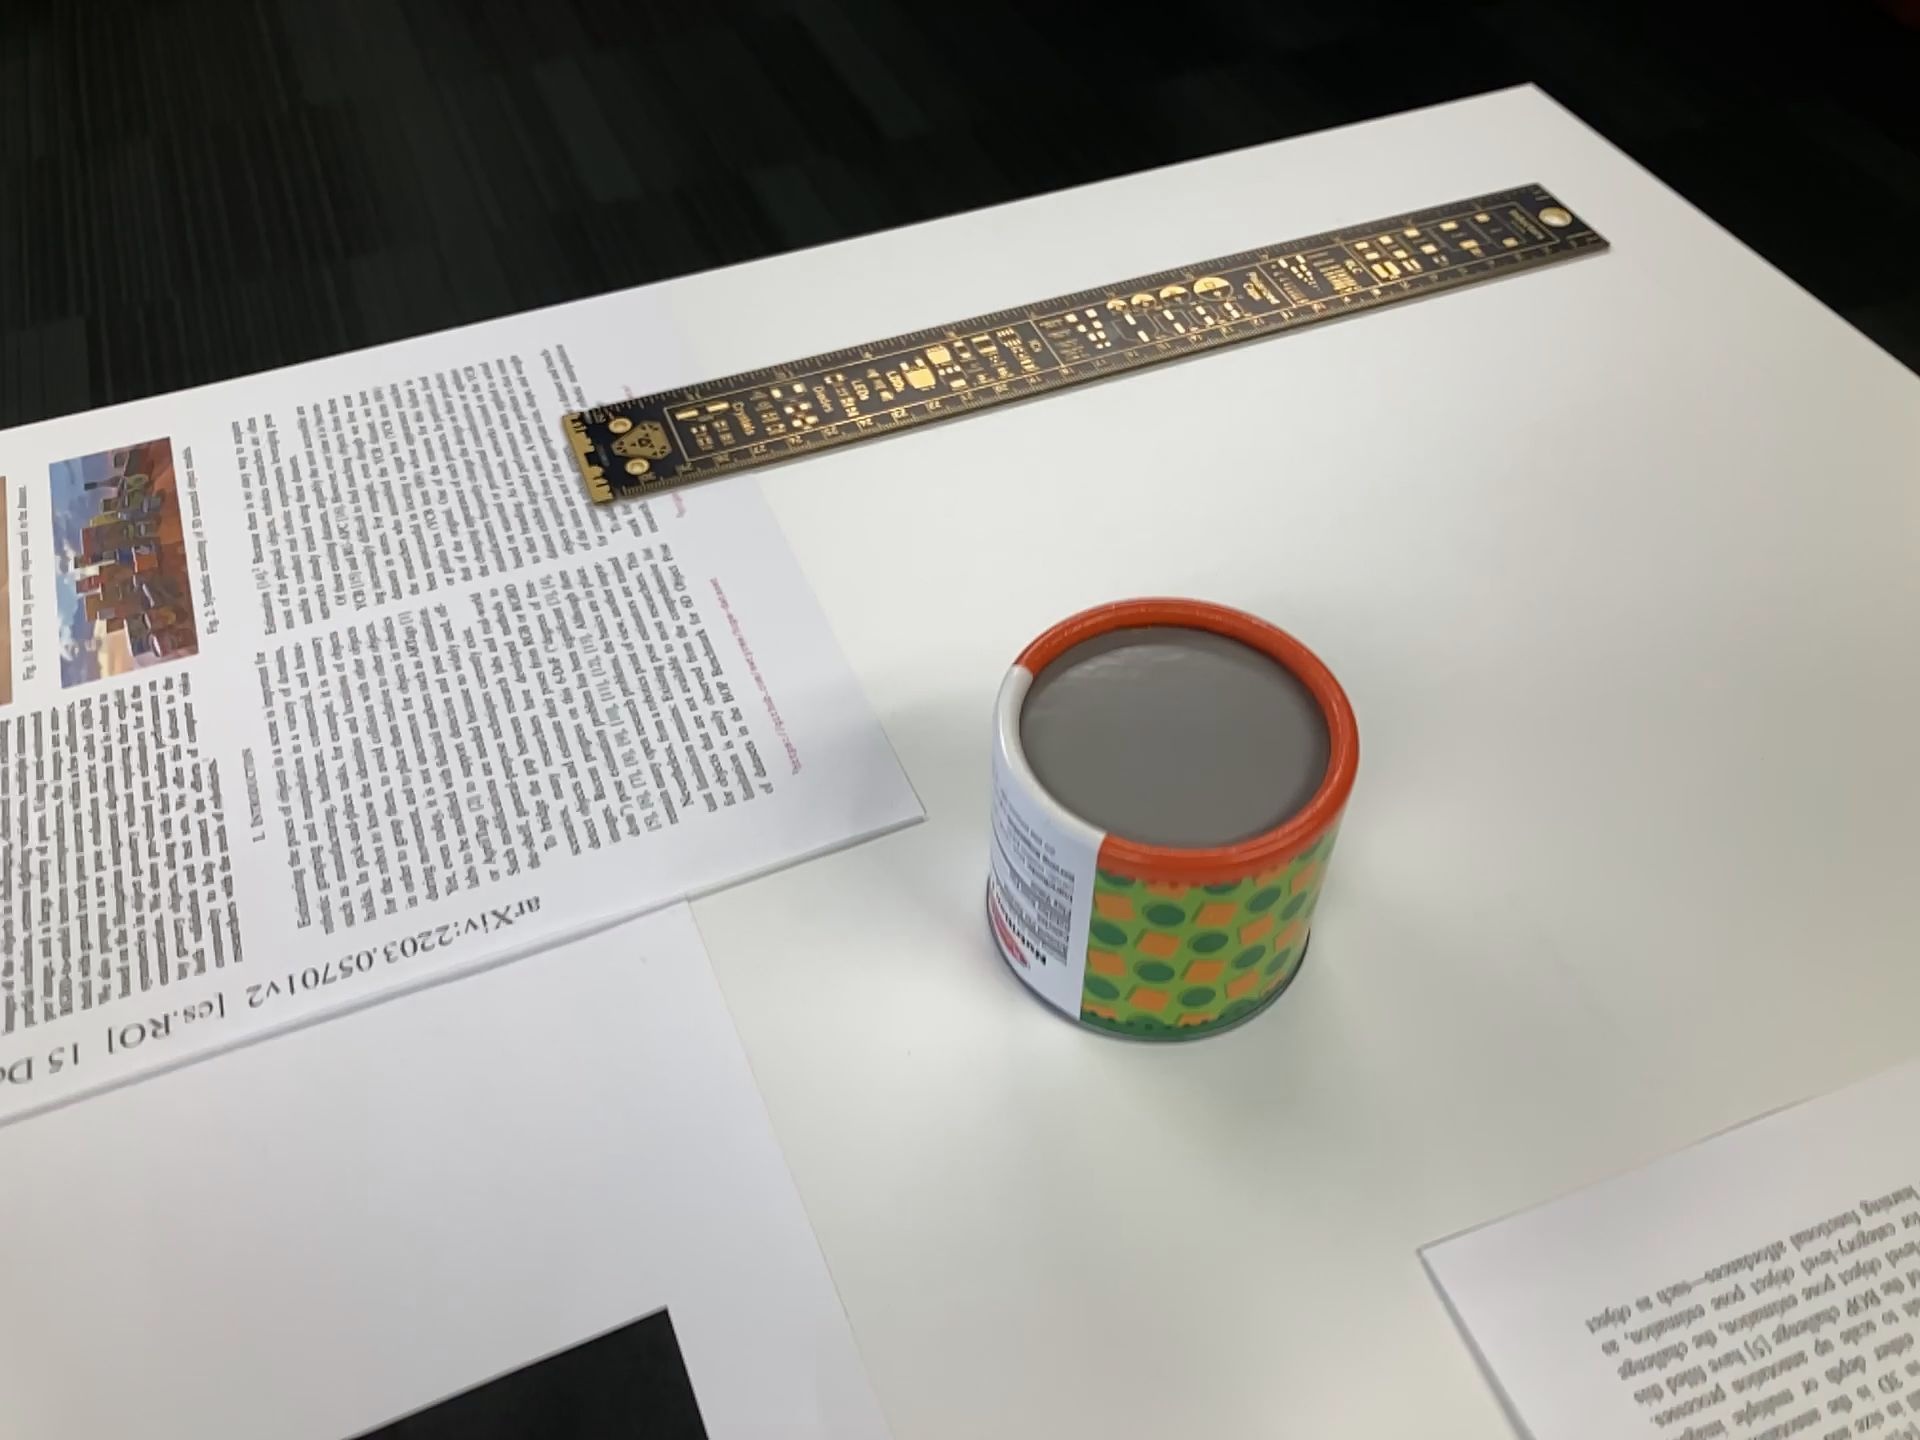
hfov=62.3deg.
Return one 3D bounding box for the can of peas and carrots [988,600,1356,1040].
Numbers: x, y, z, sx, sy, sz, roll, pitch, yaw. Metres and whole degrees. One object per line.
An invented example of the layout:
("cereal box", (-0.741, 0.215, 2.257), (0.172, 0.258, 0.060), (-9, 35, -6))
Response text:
("can of peas and carrots", (0.041, 0.018, 0.311), (0.071, 0.059, 0.071), (0, 50, 0))
